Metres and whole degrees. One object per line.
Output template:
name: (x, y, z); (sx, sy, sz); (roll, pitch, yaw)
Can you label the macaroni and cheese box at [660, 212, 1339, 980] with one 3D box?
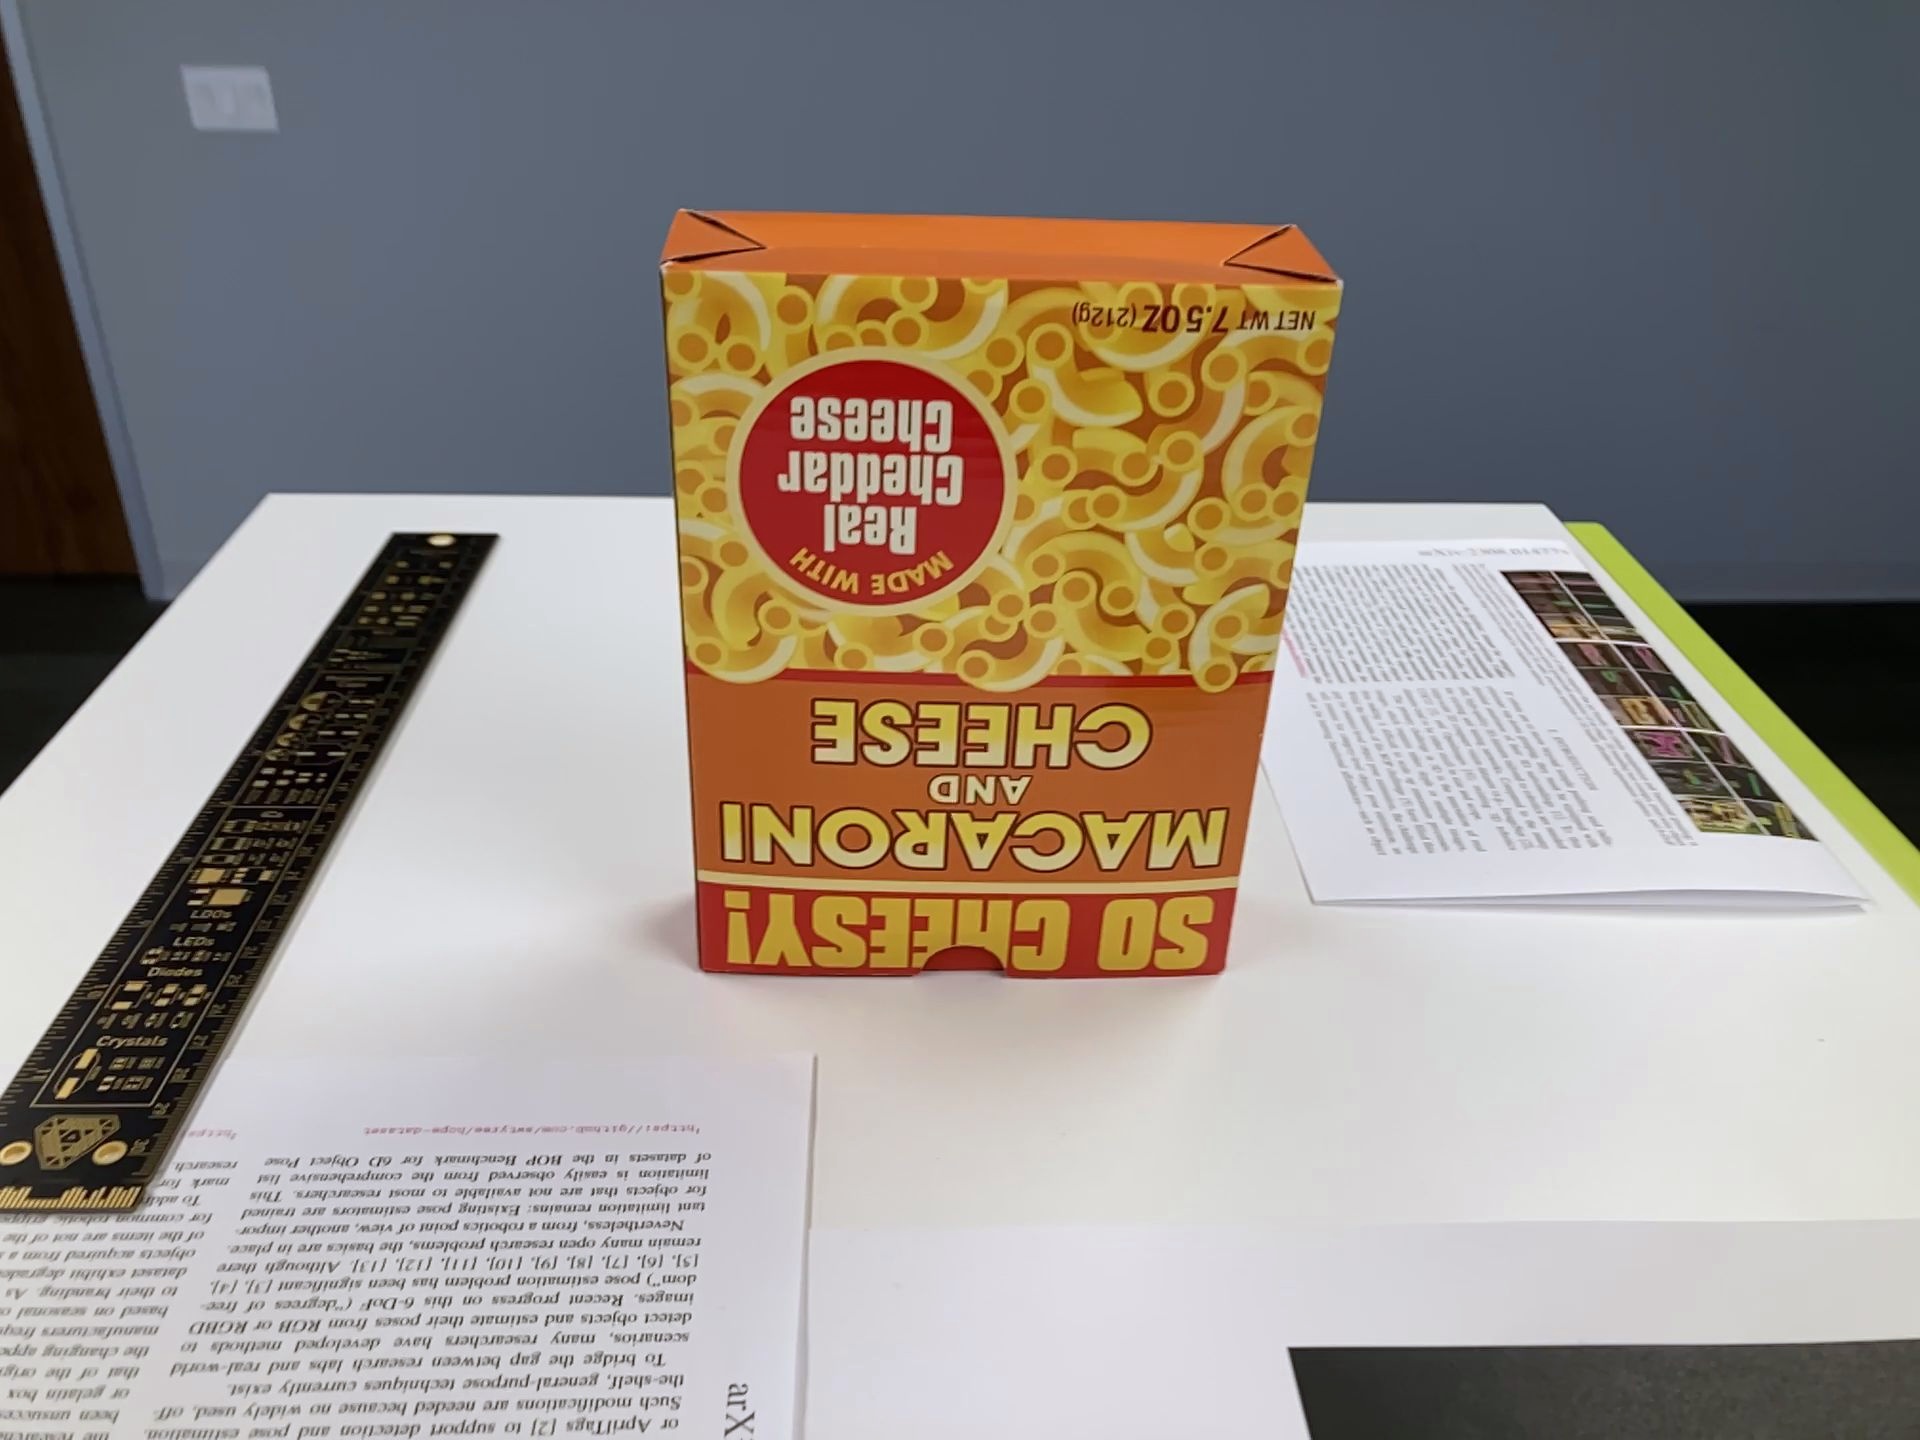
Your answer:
macaroni and cheese box: (0.002, -0.018, 0.341); (0.124, 0.166, 0.040); (1, 33, -3)
